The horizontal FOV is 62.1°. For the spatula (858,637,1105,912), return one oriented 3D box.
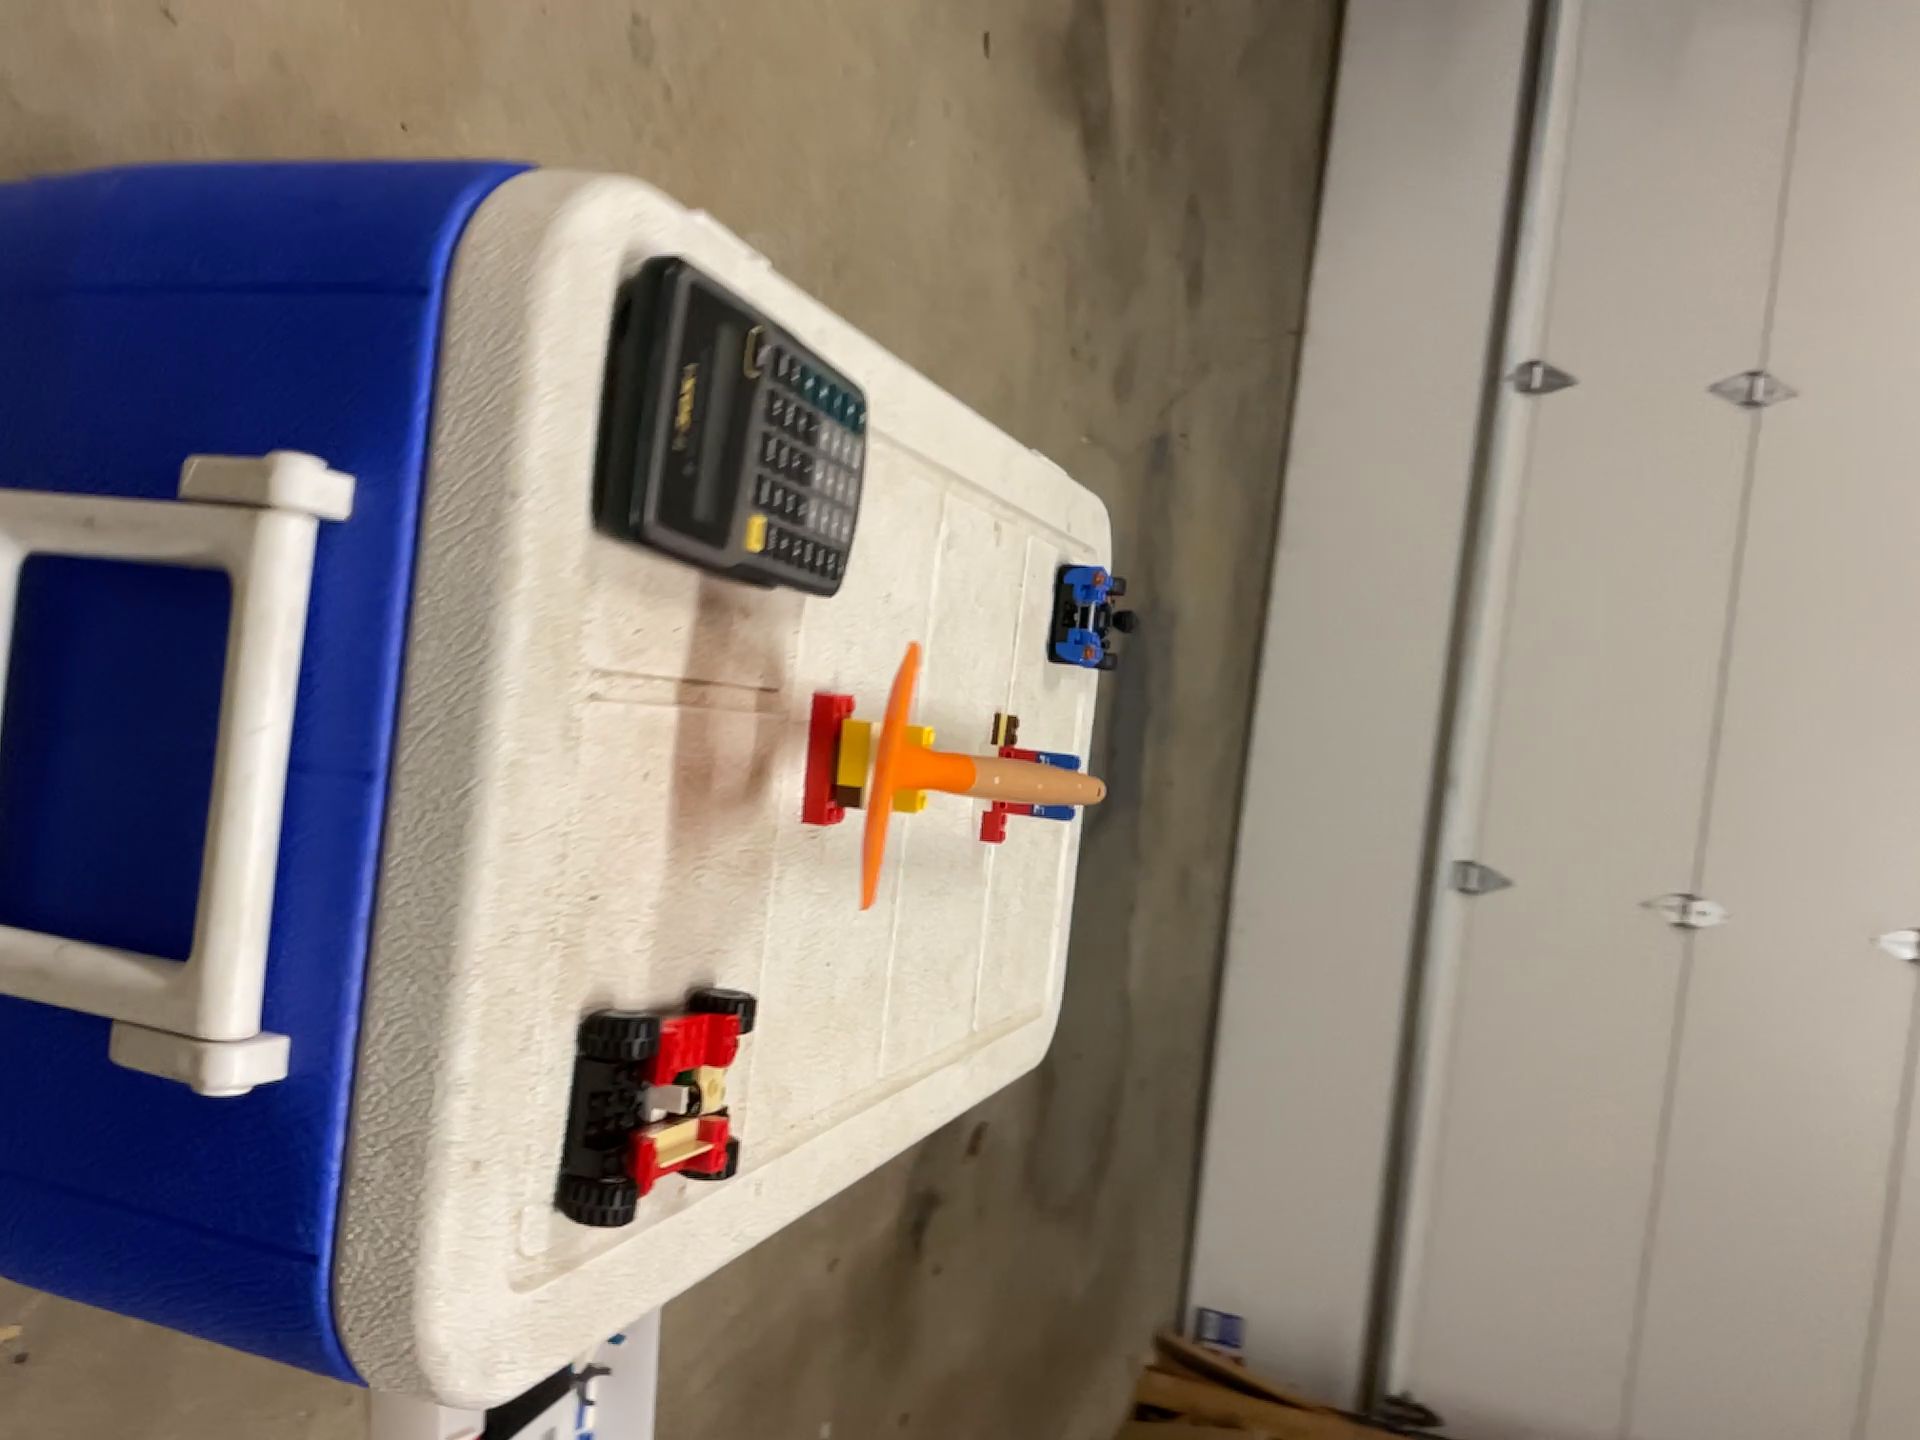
[{"bbox_3d":[0.016,0.024,0.608,0.322,0.041,0.081,12,88,-70],"label":"spatula"}]
